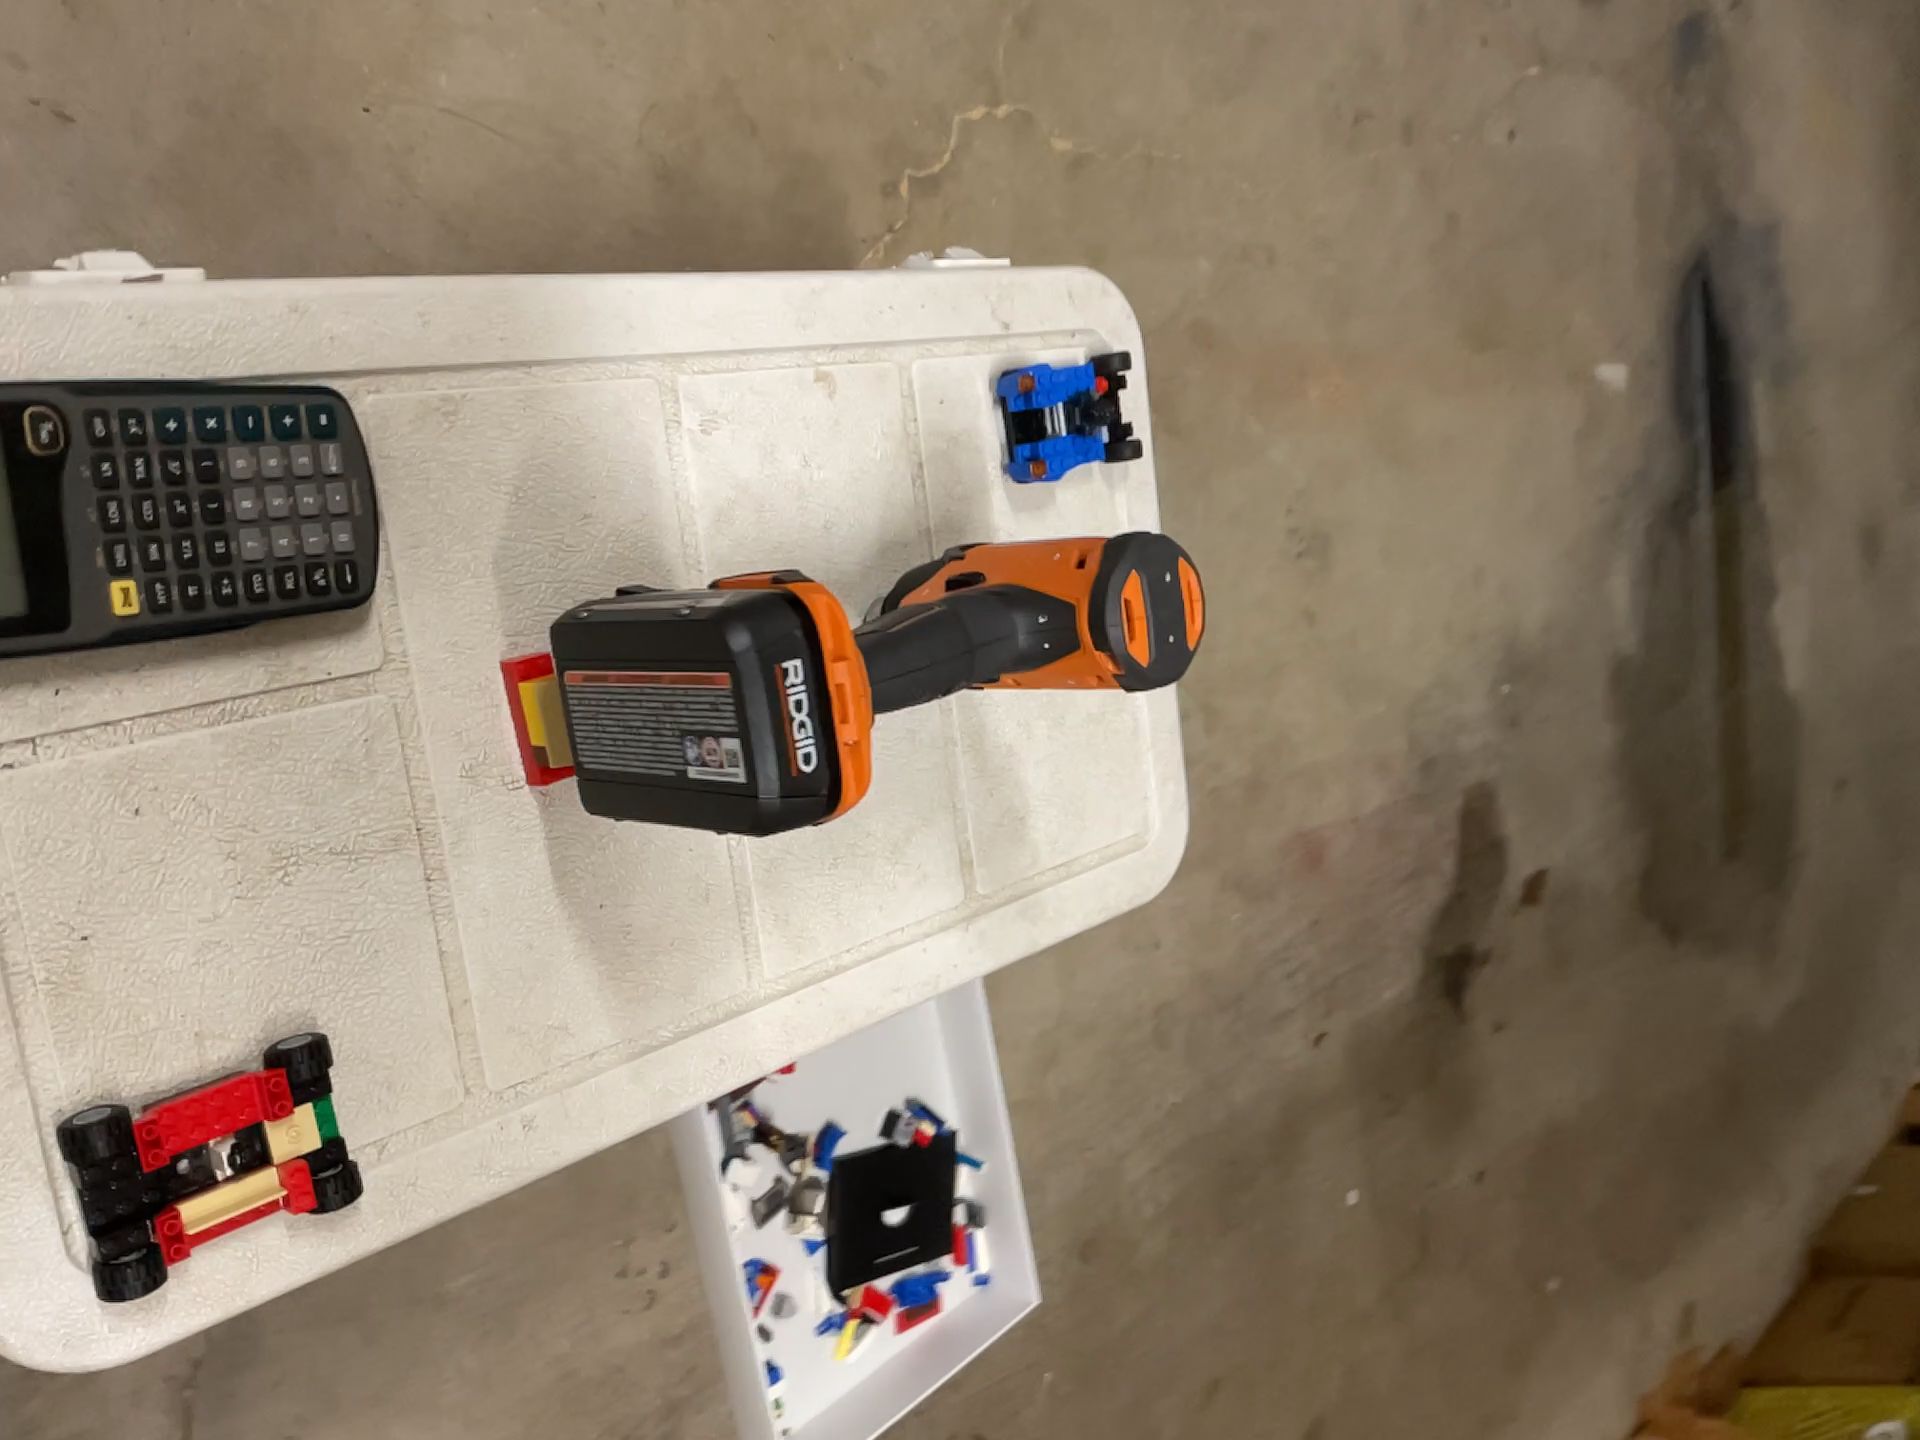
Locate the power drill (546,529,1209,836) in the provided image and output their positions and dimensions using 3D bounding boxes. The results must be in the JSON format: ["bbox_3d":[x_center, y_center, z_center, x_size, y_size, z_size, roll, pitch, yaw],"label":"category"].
[{"bbox_3d":[-0.036,-0.024,0.604,0.226,0.164,0.084,-18,104,-43],"label":"power drill"}]
